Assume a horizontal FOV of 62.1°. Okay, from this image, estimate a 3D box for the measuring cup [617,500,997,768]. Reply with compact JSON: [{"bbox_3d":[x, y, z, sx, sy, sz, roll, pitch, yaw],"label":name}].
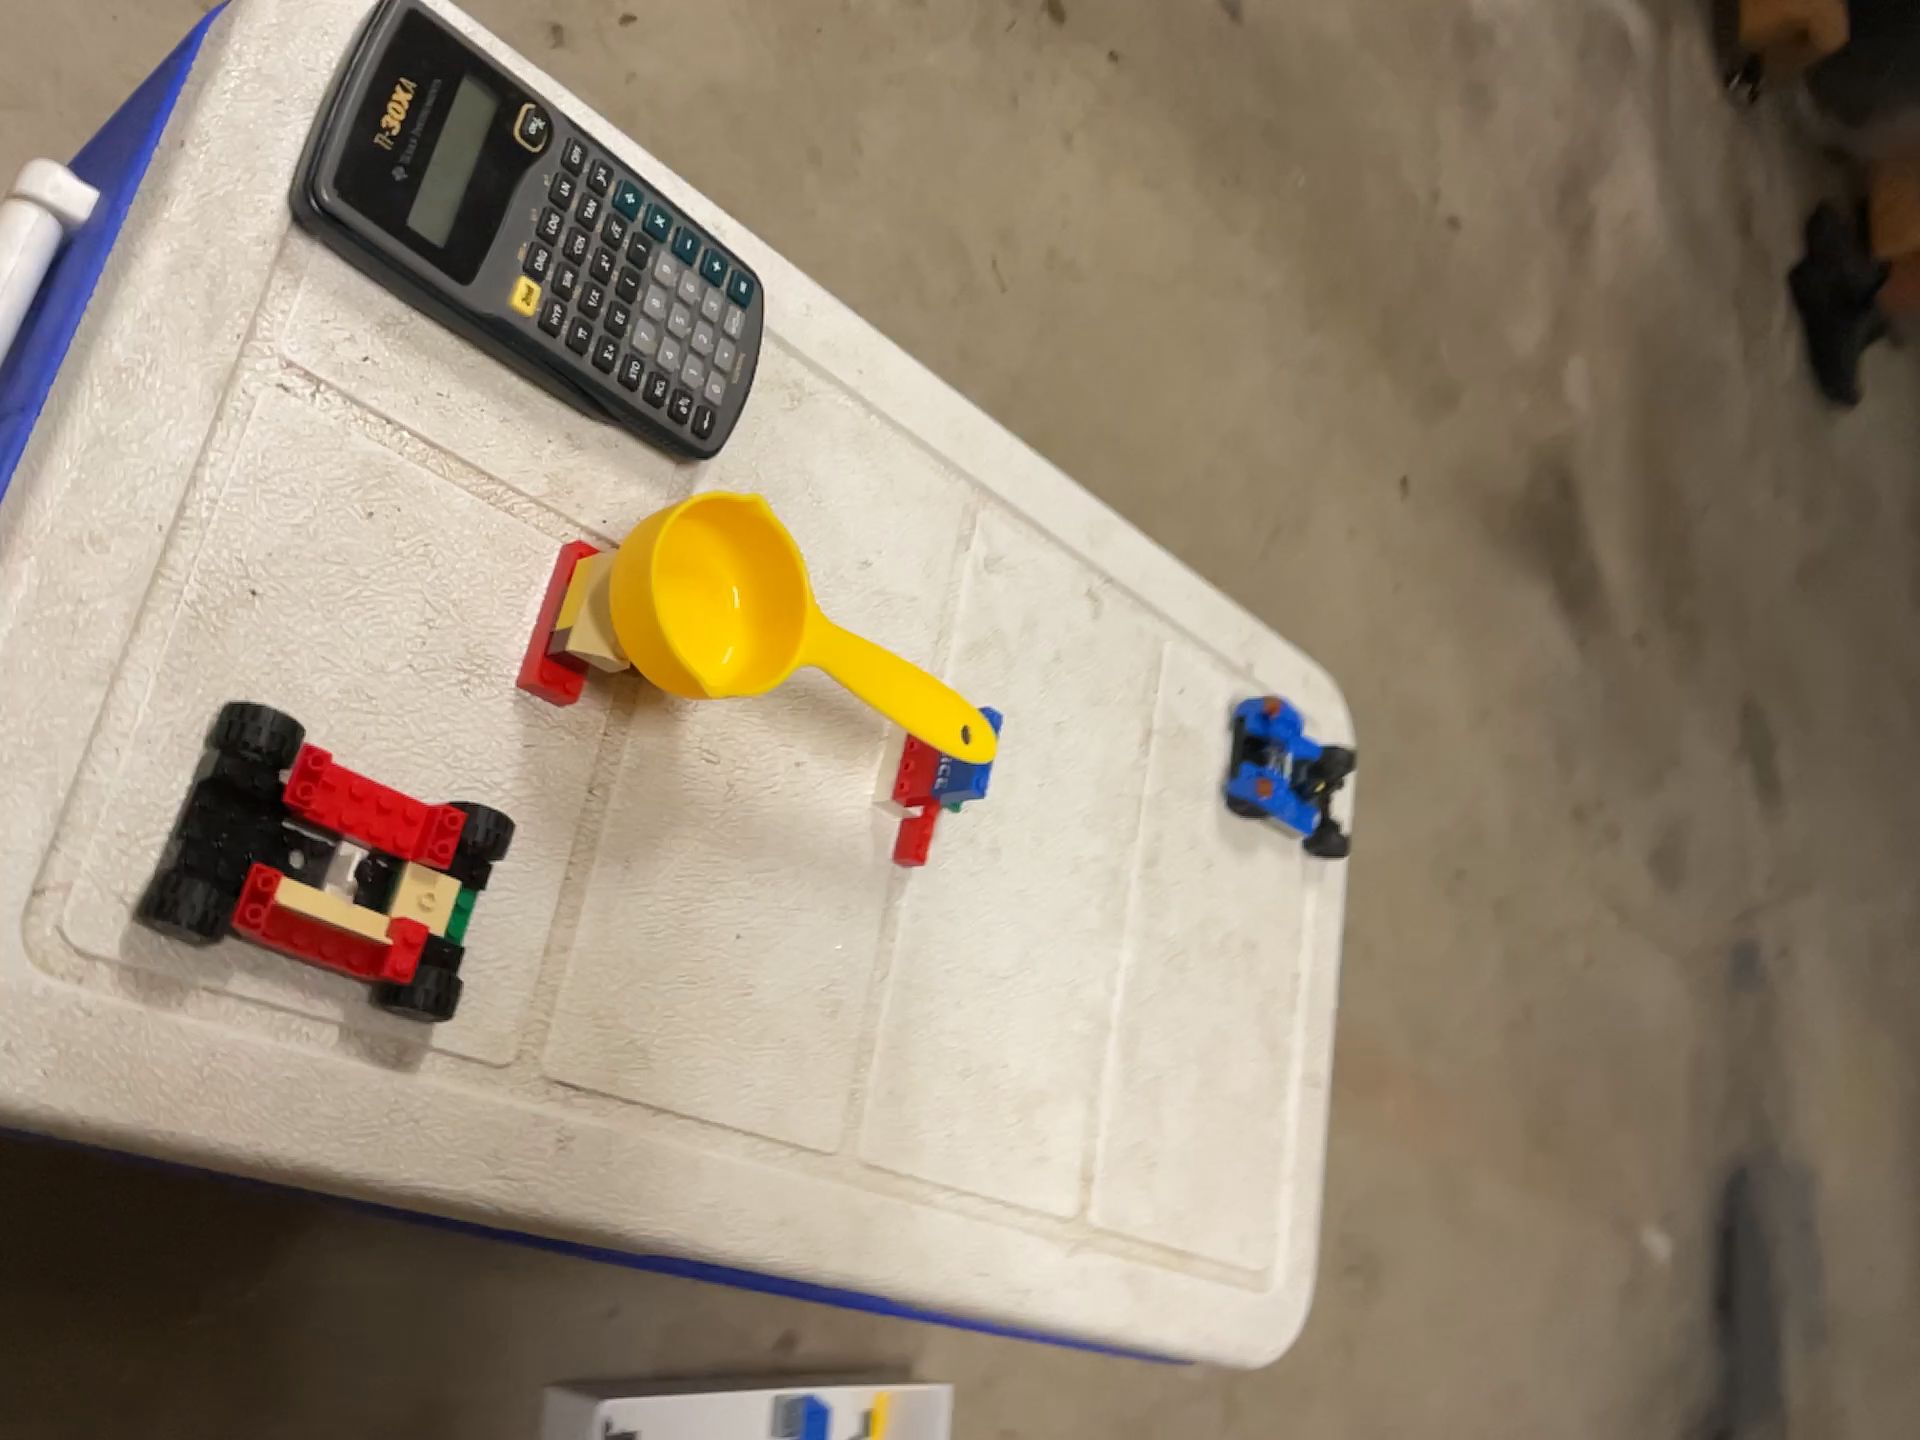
[{"bbox_3d":[-0.045,-0.016,0.505,0.156,0.029,0.062,32,61,-44],"label":"measuring cup"}]
